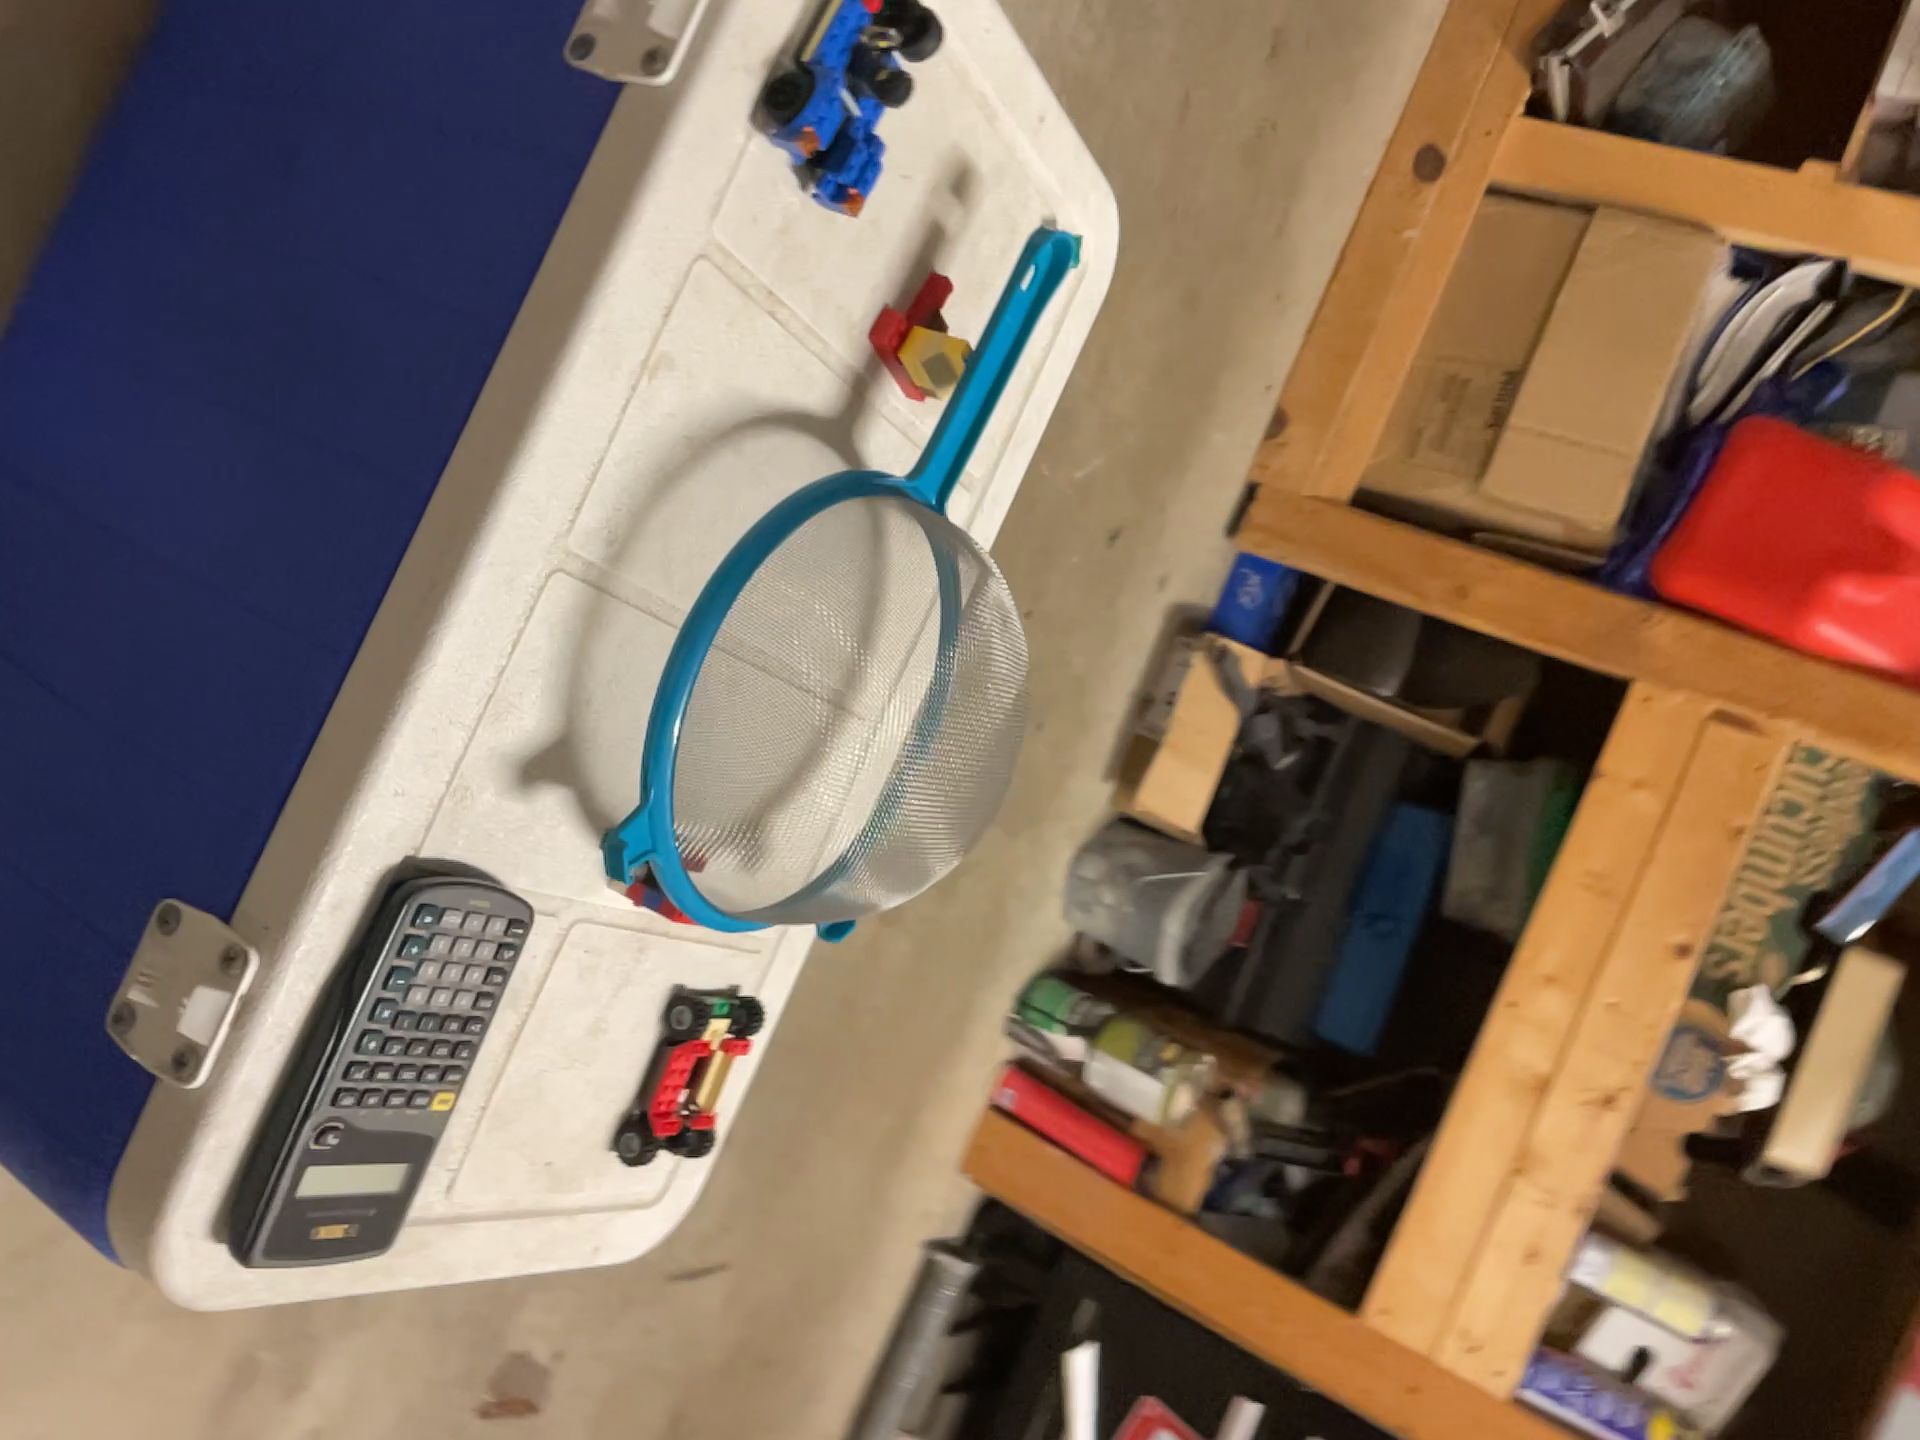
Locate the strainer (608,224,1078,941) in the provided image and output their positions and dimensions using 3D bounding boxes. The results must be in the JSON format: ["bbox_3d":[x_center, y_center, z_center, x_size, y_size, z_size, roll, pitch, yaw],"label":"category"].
[{"bbox_3d":[0.000,-0.051,0.679,0.340,0.095,0.211,-64,153,-4],"label":"strainer"}]
